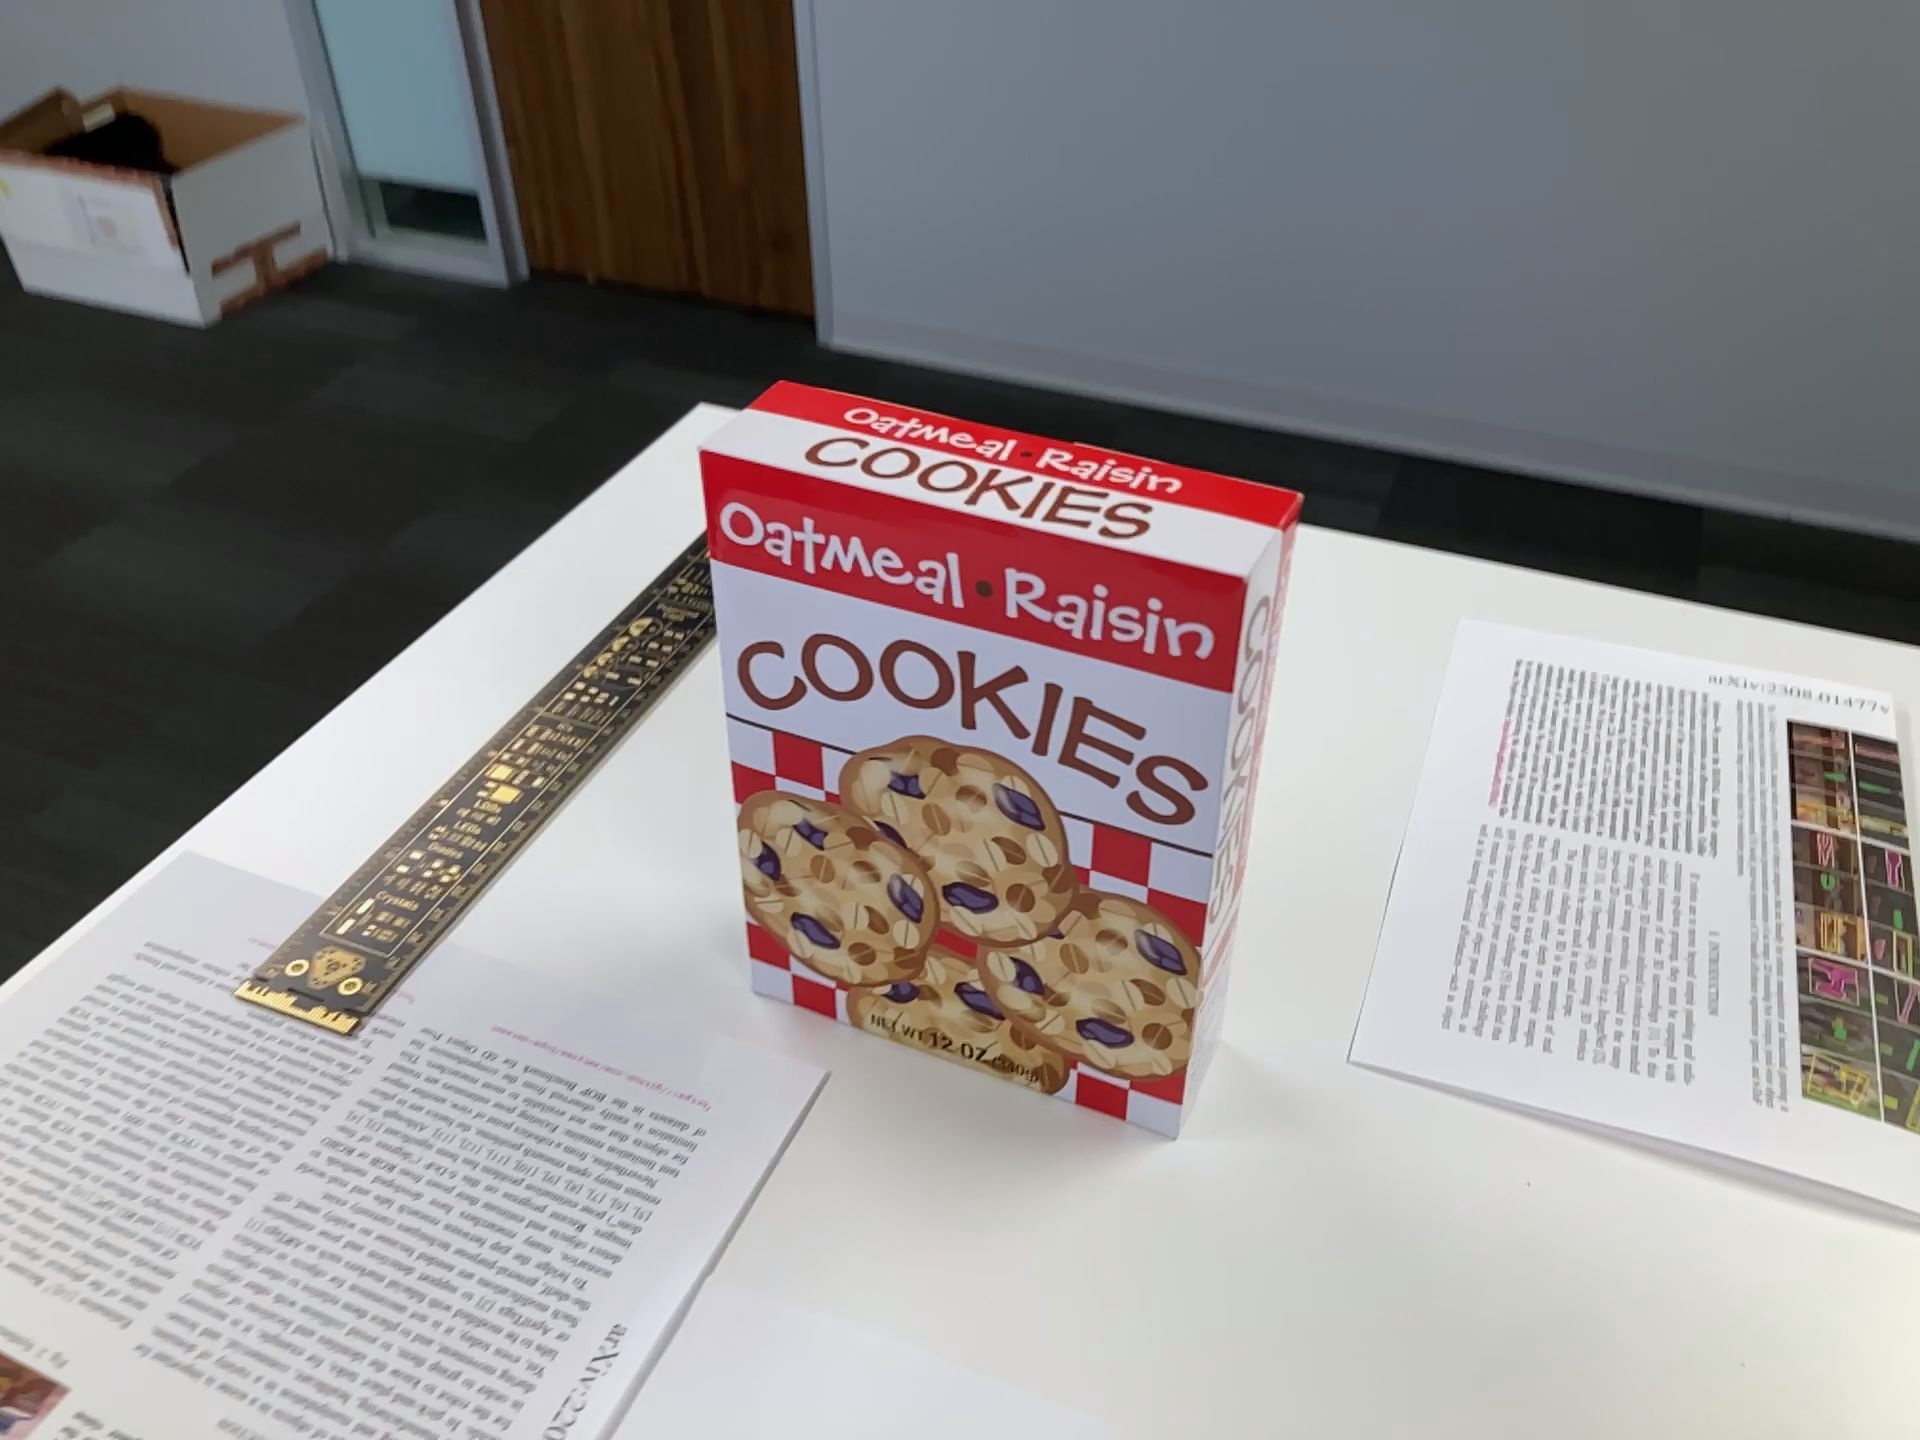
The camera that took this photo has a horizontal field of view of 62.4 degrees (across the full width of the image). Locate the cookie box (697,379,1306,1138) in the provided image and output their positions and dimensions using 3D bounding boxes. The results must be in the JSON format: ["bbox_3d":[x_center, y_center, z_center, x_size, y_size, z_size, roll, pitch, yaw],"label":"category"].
[{"bbox_3d":[0.007,0.012,0.375,0.123,0.167,0.040,15,40,19],"label":"cookie box"}]
